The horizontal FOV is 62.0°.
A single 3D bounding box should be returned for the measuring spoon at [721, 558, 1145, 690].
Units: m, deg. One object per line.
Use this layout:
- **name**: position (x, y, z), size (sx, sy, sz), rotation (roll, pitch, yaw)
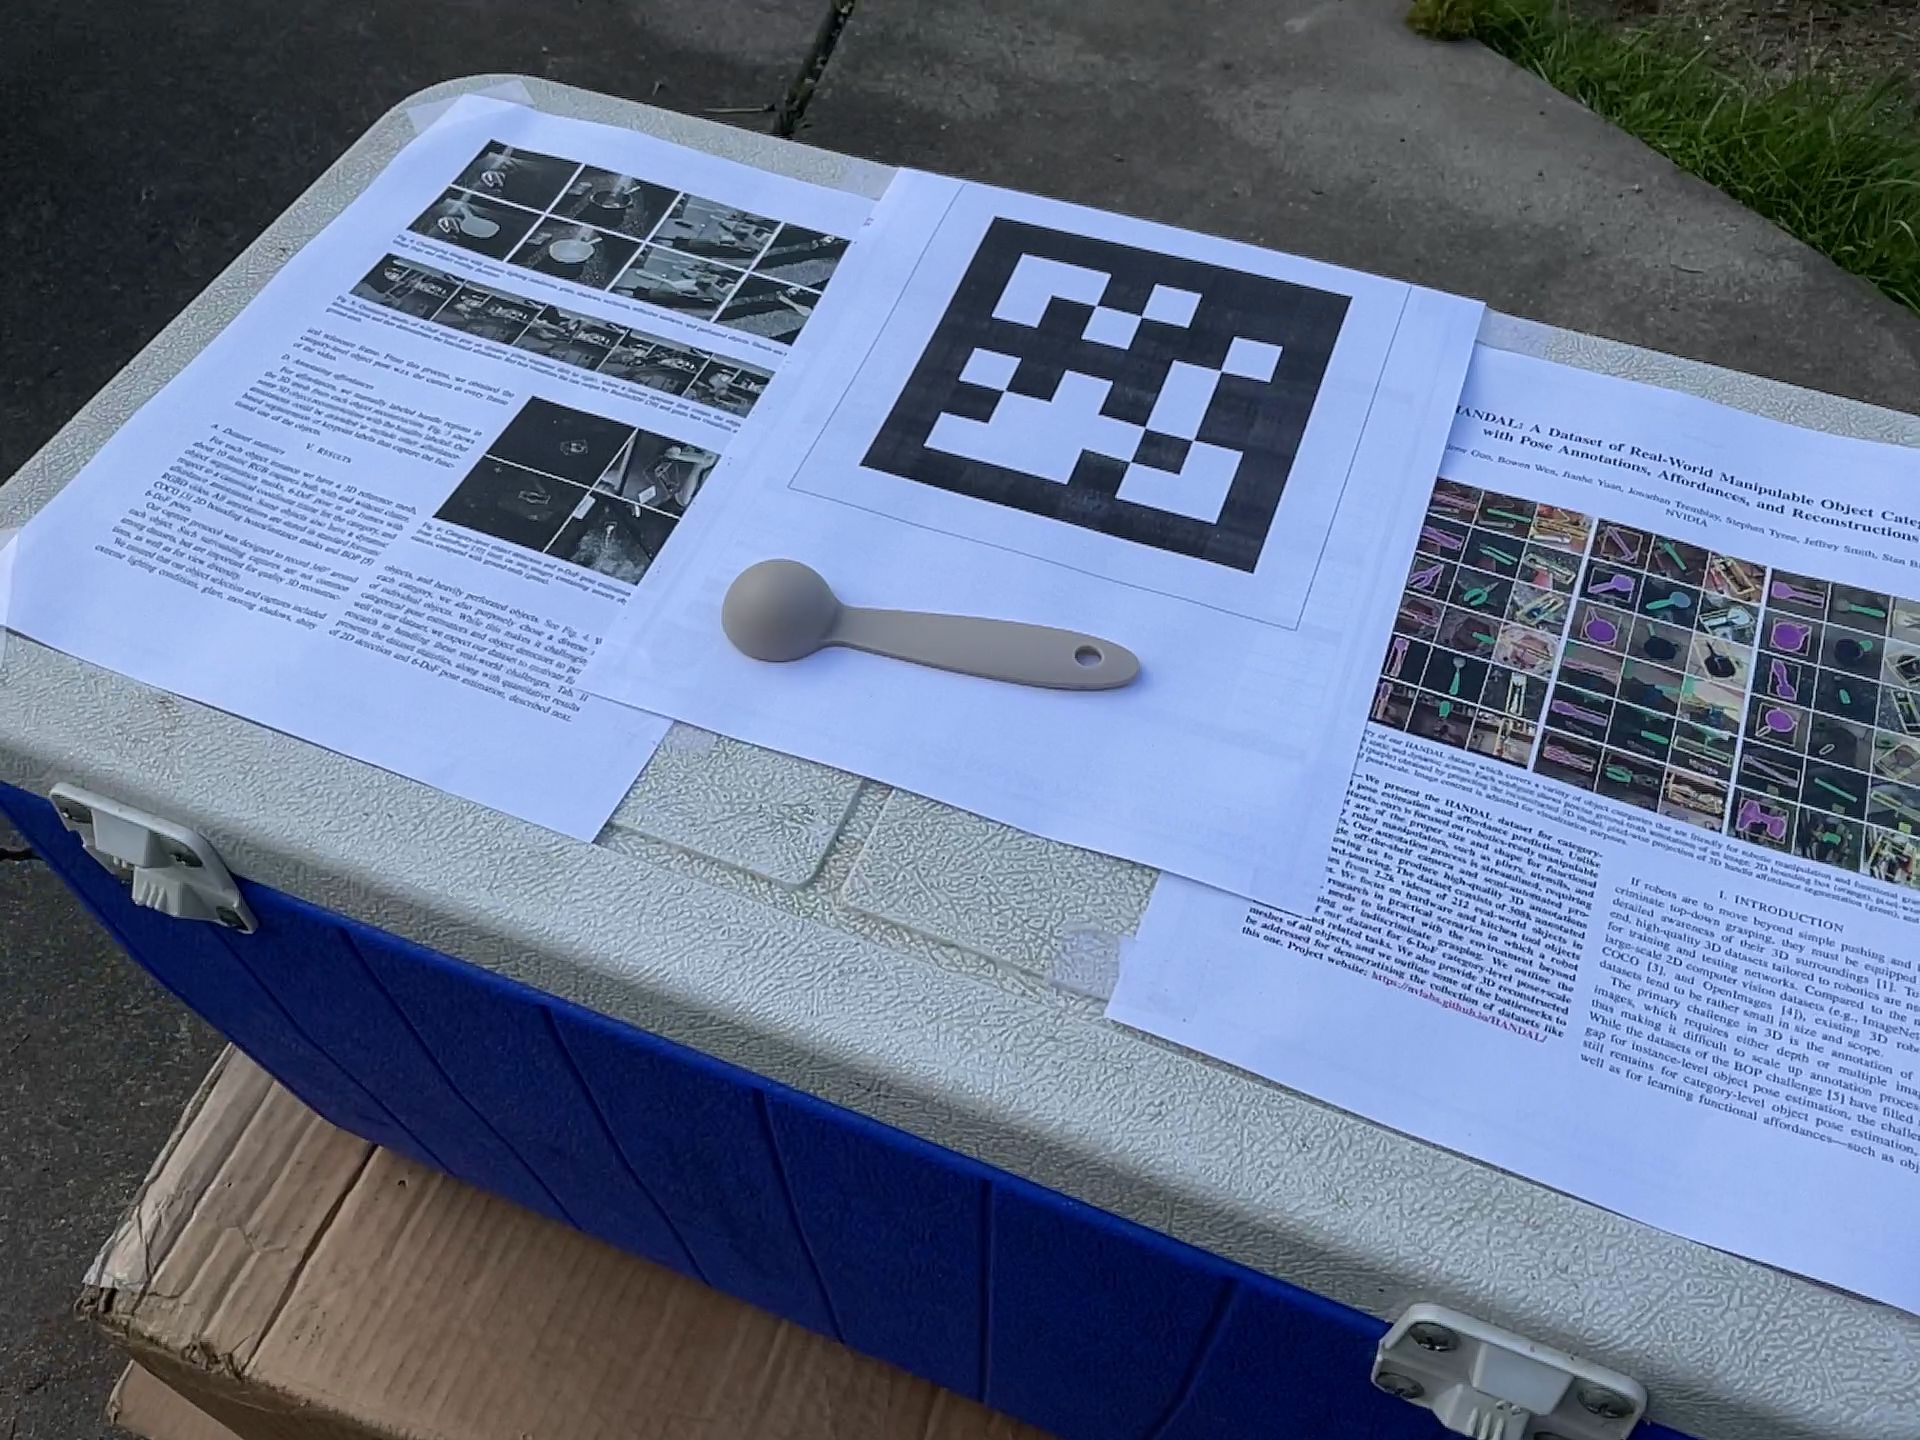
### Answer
- **measuring spoon**: position (-0.009, -0.028, 0.455), size (0.124, 0.018, 0.034), rotation (9, 54, 7)
